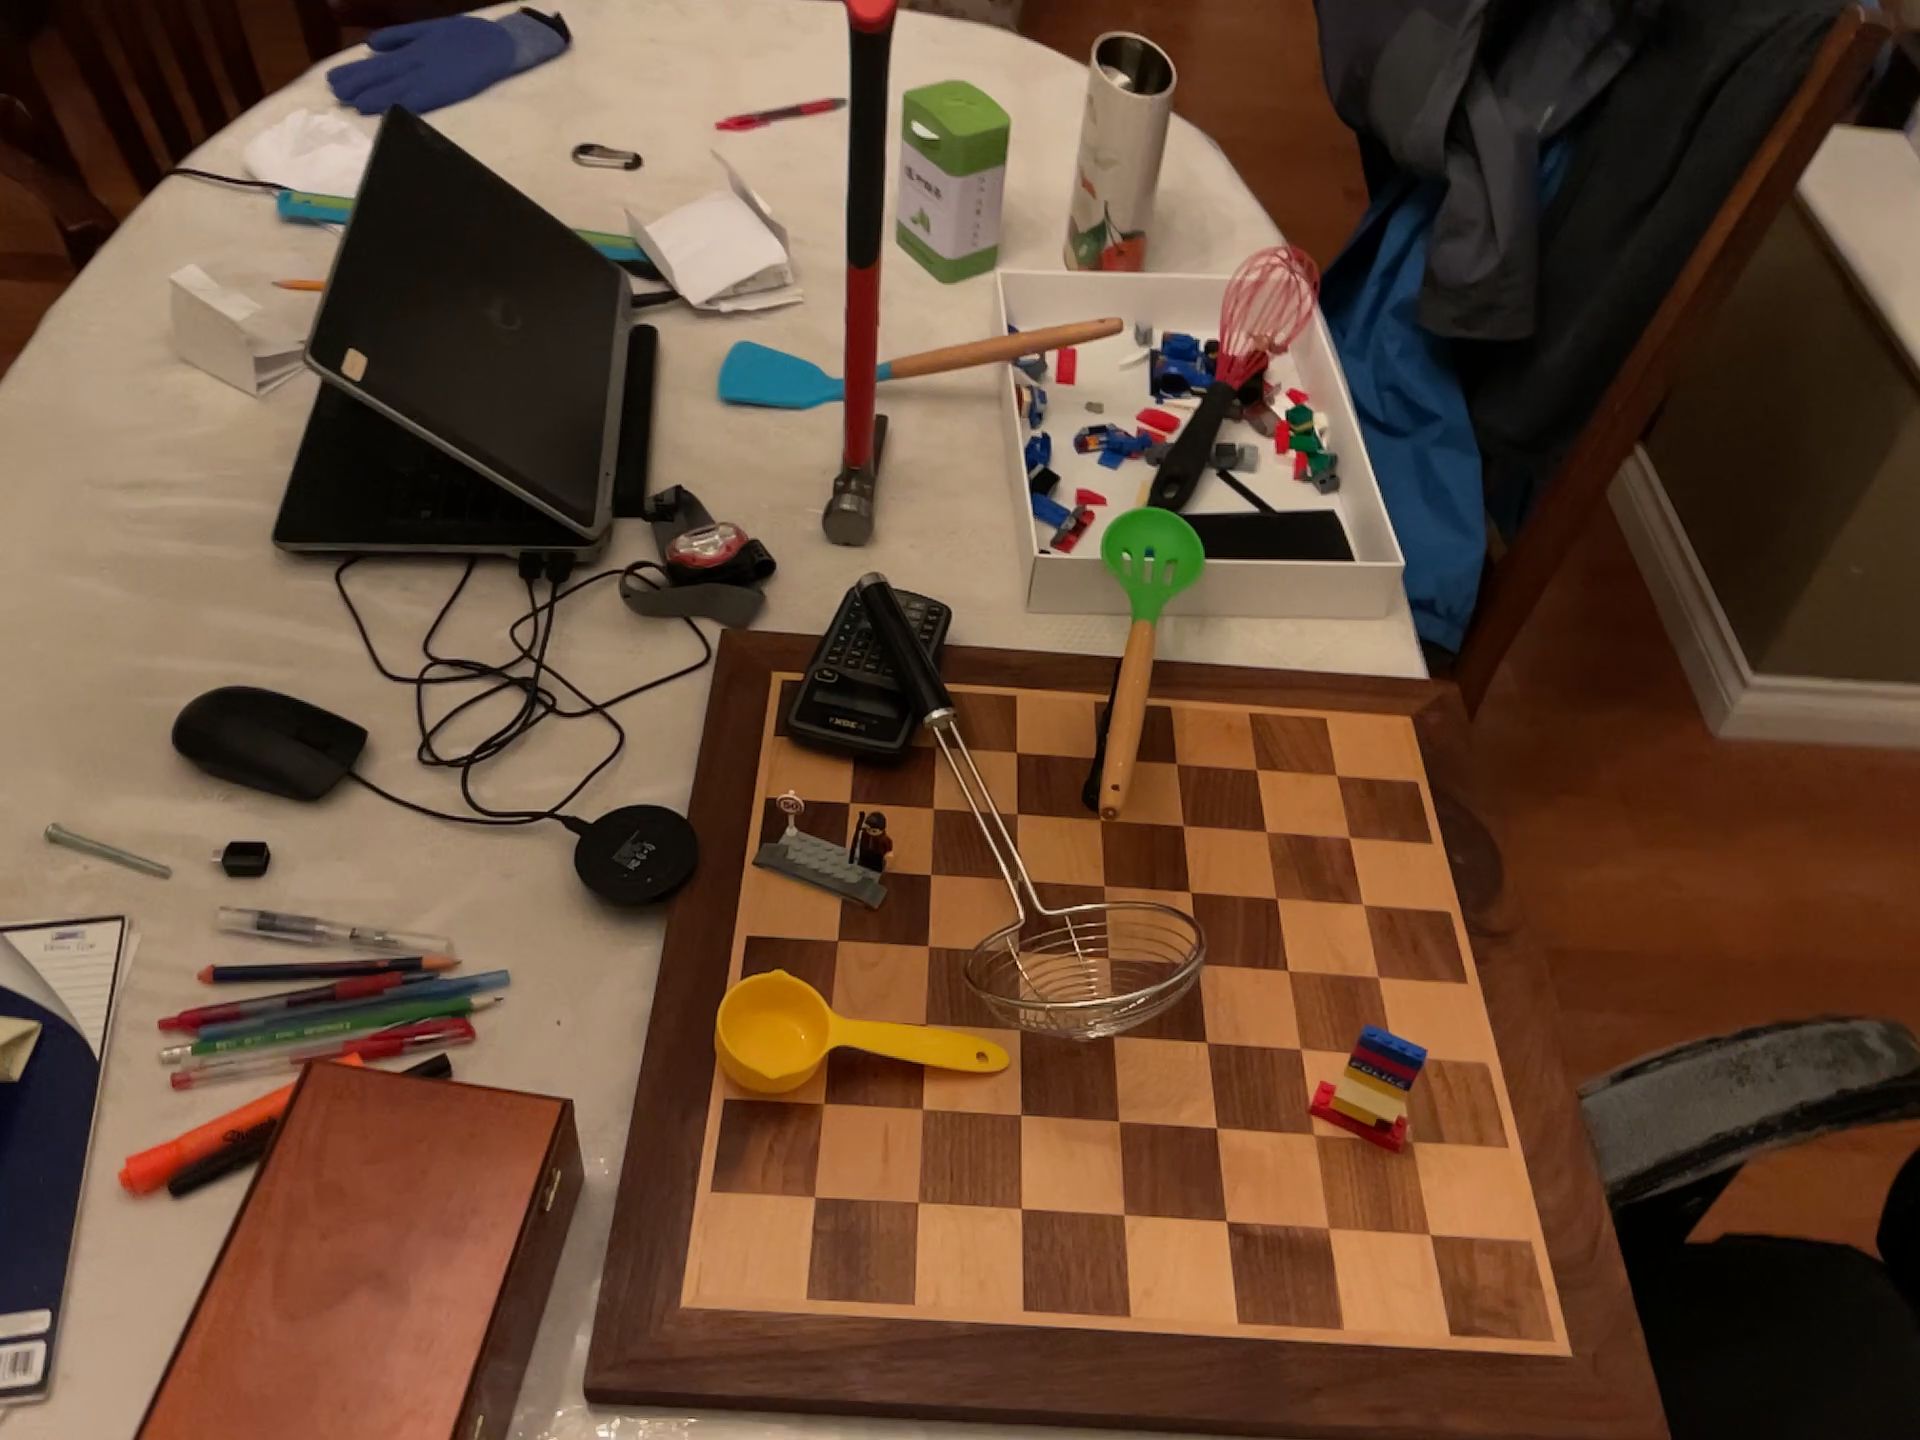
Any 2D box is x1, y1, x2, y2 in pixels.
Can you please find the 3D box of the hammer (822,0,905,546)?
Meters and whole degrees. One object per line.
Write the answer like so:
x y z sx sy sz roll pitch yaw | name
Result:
-0.062 -0.306 1.053 0.038 0.386 0.143 6 47 -1 | hammer

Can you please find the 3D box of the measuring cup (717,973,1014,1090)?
-0.050 0.173 0.825 0.156 0.029 0.062 13 42 -12 | measuring cup

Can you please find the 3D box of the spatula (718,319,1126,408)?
-0.030 -0.284 1.233 0.318 0.044 0.082 -7 43 16 | spatula

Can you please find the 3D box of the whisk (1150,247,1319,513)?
0.214 -0.271 1.254 0.073 0.073 0.296 13 59 30 | whisk

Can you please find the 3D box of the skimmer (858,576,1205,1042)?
0.016 0.029 0.909 0.127 0.090 0.364 -15 54 -17 | skimmer

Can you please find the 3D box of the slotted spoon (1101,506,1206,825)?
0.108 -0.040 0.966 0.070 0.031 0.314 13 38 3 | slotted spoon
